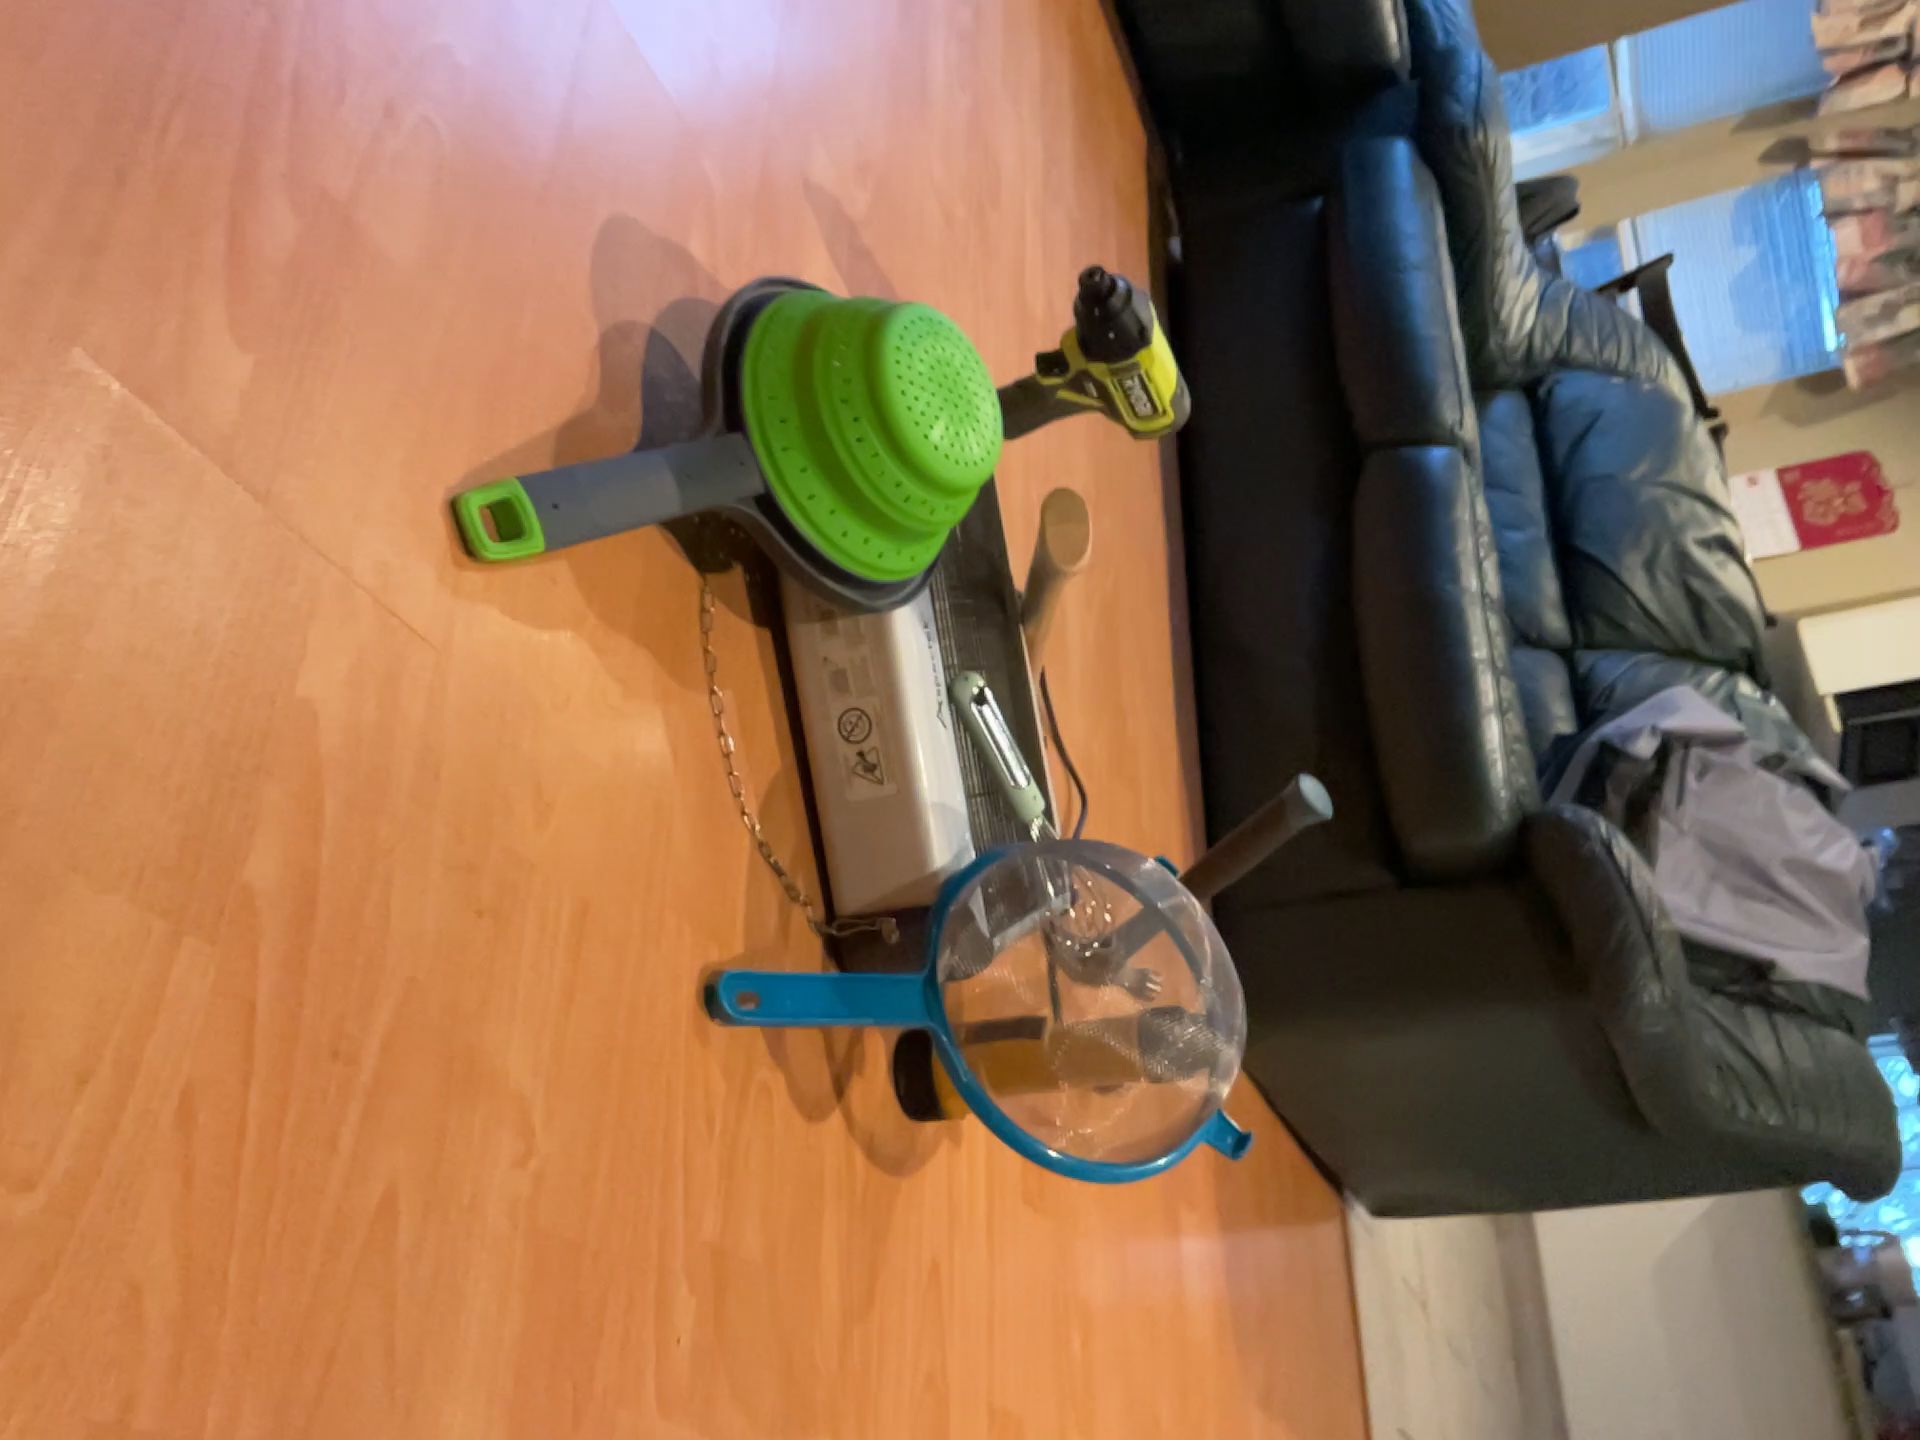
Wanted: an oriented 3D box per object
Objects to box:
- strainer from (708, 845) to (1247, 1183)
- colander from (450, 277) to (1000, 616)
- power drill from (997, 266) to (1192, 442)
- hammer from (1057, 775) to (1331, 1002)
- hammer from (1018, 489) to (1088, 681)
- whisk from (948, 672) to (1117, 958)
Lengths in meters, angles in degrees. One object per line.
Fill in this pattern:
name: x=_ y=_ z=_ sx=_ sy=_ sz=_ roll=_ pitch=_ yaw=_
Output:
strainer: x=0.033 y=0.143 z=0.891 sx=0.340 sy=0.095 sz=0.211 roll=7 pitch=56 yaw=-33
colander: x=-0.088 y=-0.146 z=0.846 sx=0.397 sy=0.094 sz=0.204 roll=-27 pitch=98 yaw=-53
power drill: x=0.049 y=-0.264 z=1.234 sx=0.171 sy=0.223 sz=0.080 roll=48 pitch=35 yaw=-55
hammer: x=0.191 y=0.140 z=1.320 sx=0.128 sy=0.330 sz=0.033 roll=21 pitch=49 yaw=-20
hammer: x=0.055 y=-0.088 z=1.203 sx=0.410 sy=0.038 sz=0.146 roll=99 pitch=-14 yaw=-75
whisk: x=0.048 y=0.067 z=1.072 sx=0.058 sy=0.059 sz=0.246 roll=-47 pitch=126 yaw=-31
